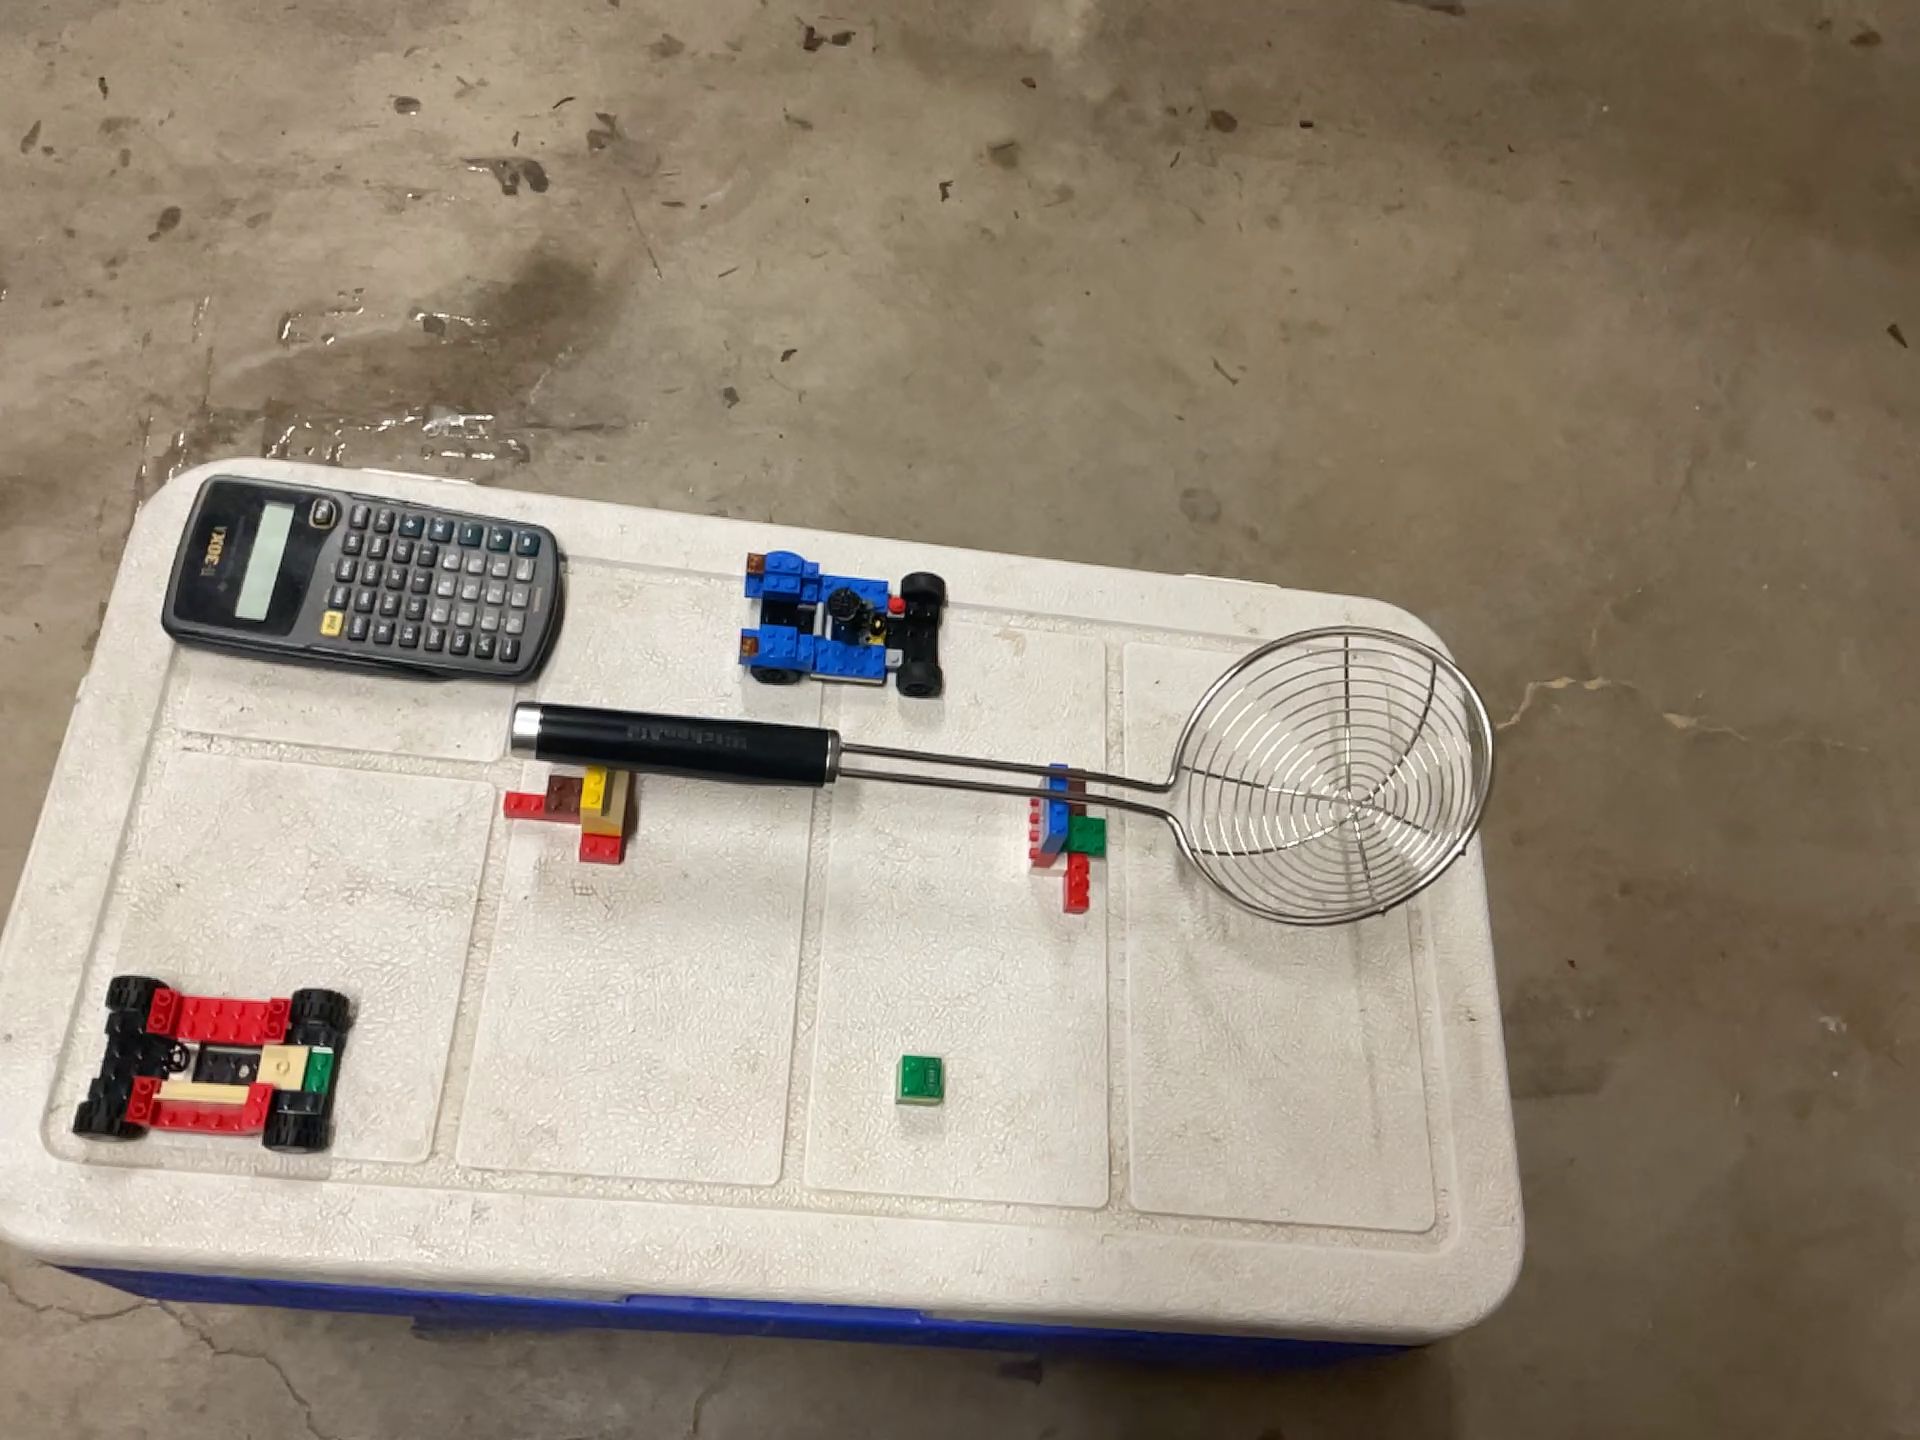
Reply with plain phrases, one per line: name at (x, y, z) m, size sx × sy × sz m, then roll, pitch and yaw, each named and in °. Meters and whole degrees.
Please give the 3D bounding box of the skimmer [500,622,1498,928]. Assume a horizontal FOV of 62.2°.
skimmer at (0.013, 0.007, 0.599) m, size 0.363 × 0.090 × 0.128 m, roll 6°, pitch 62°, yaw -9°
